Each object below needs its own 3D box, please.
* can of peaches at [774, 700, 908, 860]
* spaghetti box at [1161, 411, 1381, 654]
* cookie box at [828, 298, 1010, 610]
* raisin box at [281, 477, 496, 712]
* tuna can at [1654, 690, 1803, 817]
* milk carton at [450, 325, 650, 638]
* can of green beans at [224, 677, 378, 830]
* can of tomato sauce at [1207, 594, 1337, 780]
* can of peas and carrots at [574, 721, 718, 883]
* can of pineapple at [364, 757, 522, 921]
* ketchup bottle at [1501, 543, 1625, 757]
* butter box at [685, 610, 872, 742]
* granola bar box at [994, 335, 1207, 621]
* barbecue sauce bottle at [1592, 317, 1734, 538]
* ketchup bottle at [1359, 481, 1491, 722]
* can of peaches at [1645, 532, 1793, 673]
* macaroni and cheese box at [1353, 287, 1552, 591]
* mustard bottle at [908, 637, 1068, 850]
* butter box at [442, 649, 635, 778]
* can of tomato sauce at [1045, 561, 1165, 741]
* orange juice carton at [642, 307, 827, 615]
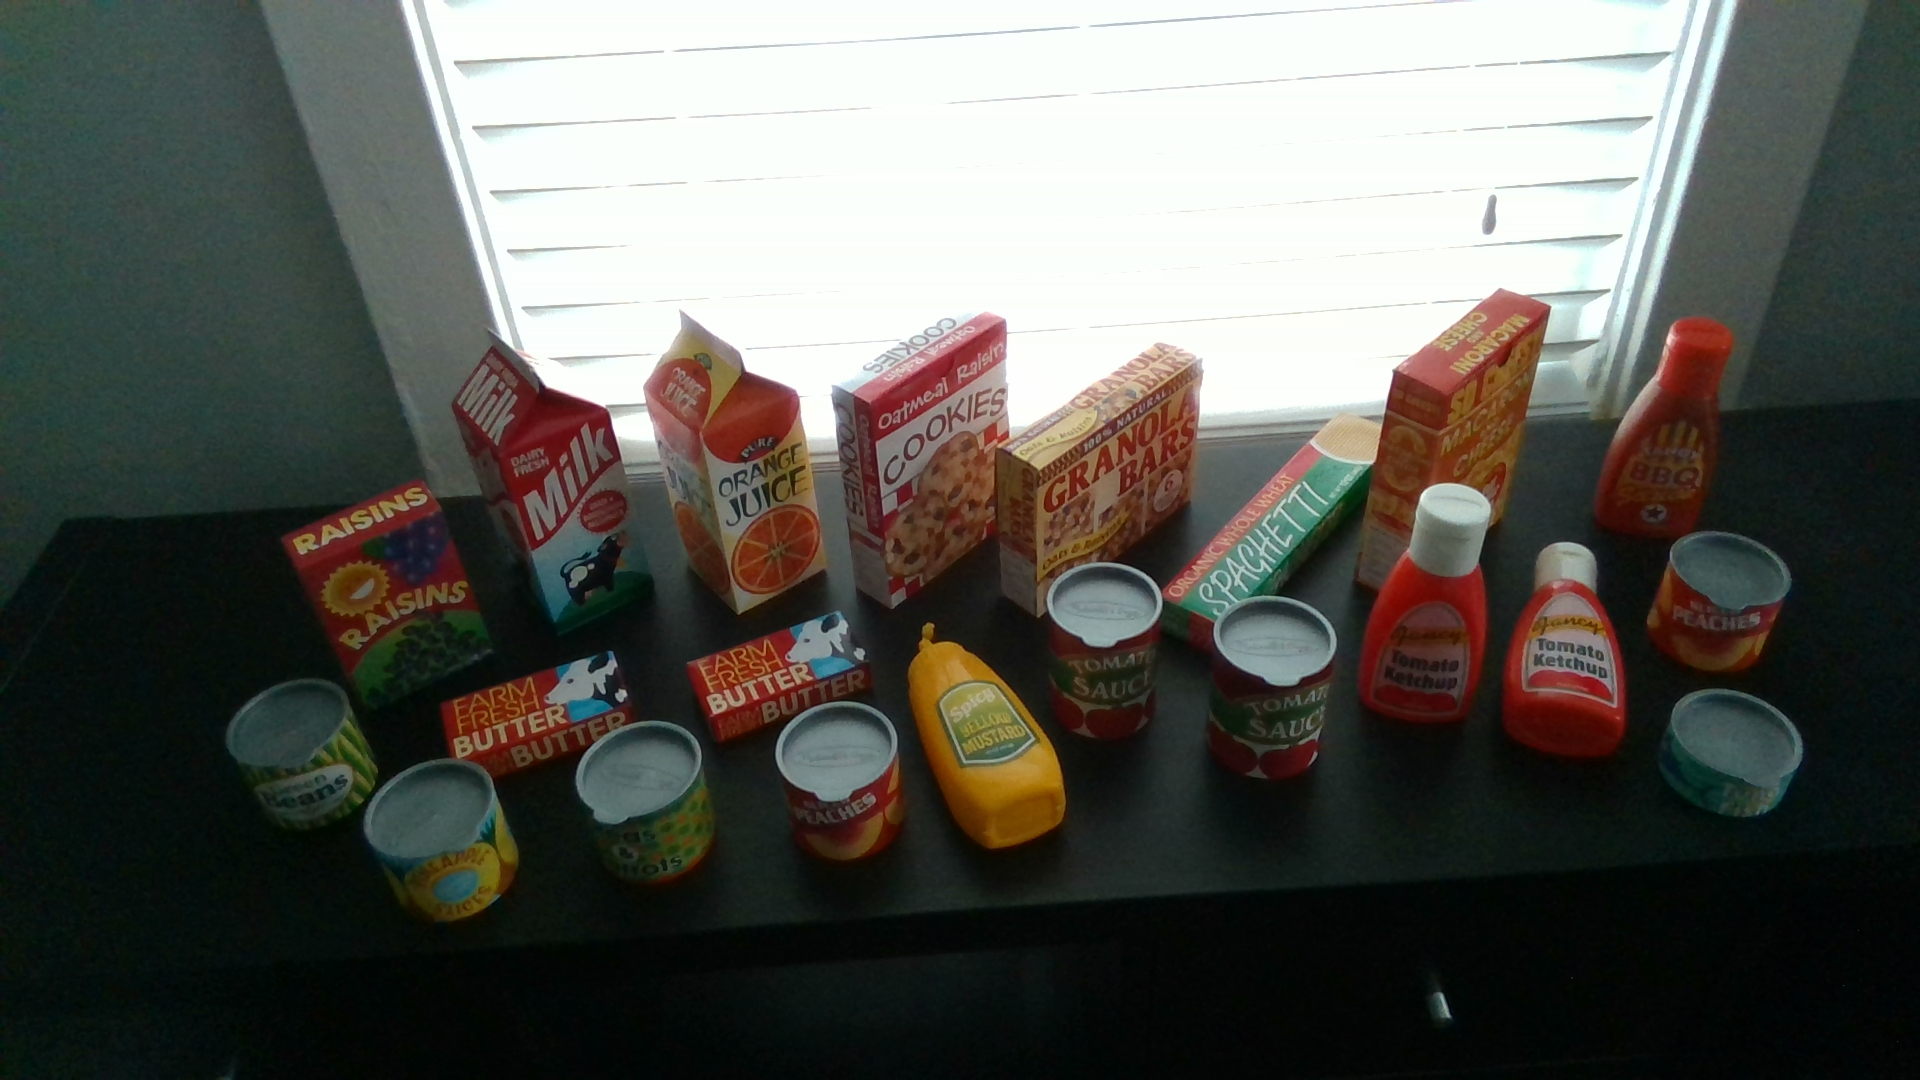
[{"bbox_3d":[-0.064,0.132,0.751,0.071,0.057,0.071,-4,40,3],"label":"can of peaches"},{"bbox_3d":[0.216,-0.010,0.927,0.050,0.028,0.251,25,48,30],"label":"spaghetti box"},{"bbox_3d":[-0.020,-0.054,0.888,0.040,0.166,0.123,29,50,31],"label":"cookie box"},{"bbox_3d":[-0.341,0.034,0.838,0.086,0.122,0.040,-26,46,-24],"label":"raisin box"},{"bbox_3d":[0.419,0.118,0.758,0.071,0.032,0.071,-1,39,1],"label":"tuna can"},{"bbox_3d":[-0.258,-0.040,0.868,0.074,0.189,0.072,-29,46,-28],"label":"milk carton"},{"bbox_3d":[-0.373,0.122,0.790,0.071,0.057,0.071,-2,40,2],"label":"can of green beans"},{"bbox_3d":[0.173,0.084,0.775,0.071,0.082,0.071,-3,40,3],"label":"can of tomato sauce"},{"bbox_3d":[-0.168,0.143,0.746,0.071,0.058,0.071,-3,39,3],"label":"can of peas and carrots"},{"bbox_3d":[-0.272,0.160,0.736,0.071,0.057,0.071,-3,40,3],"label":"can of pineapple"},{"bbox_3d":[0.358,0.061,0.824,0.065,0.043,0.150,11,41,16],"label":"ketchup bottle"},{"bbox_3d":[-0.110,0.082,0.846,0.104,0.024,0.053,-19,41,-18],"label":"butter box"},{"bbox_3d":[0.090,-0.042,0.896,0.039,0.123,0.166,31,50,32],"label":"granola bar box"},{"bbox_3d":[0.454,-0.071,0.889,0.065,0.147,0.044,7,41,12],"label":"barbecue sauce bottle"},{"bbox_3d":[0.264,0.036,0.777,0.065,0.148,0.044,8,40,14],"label":"ketchup bottle"},{"bbox_3d":[0.452,0.039,0.832,0.071,0.057,0.071,-1,40,1],"label":"can of peaches"},{"bbox_3d":[0.308,-0.058,0.872,0.124,0.165,0.040,-35,50,-30],"label":"macaroni and cheese box"},{"bbox_3d":[0.004,0.103,0.791,0.065,0.048,0.161,-16,40,-17],"label":"mustard bottle"},{"bbox_3d":[-0.250,0.104,0.824,0.104,0.024,0.053,-18,41,-17],"label":"butter box"},{"bbox_3d":[0.083,0.066,0.799,0.071,0.082,0.071,-2,39,1],"label":"can of tomato sauce"},{"bbox_3d":[-0.142,-0.053,0.878,0.073,0.191,0.072,-29,48,-26],"label":"orange juice carton"}]
